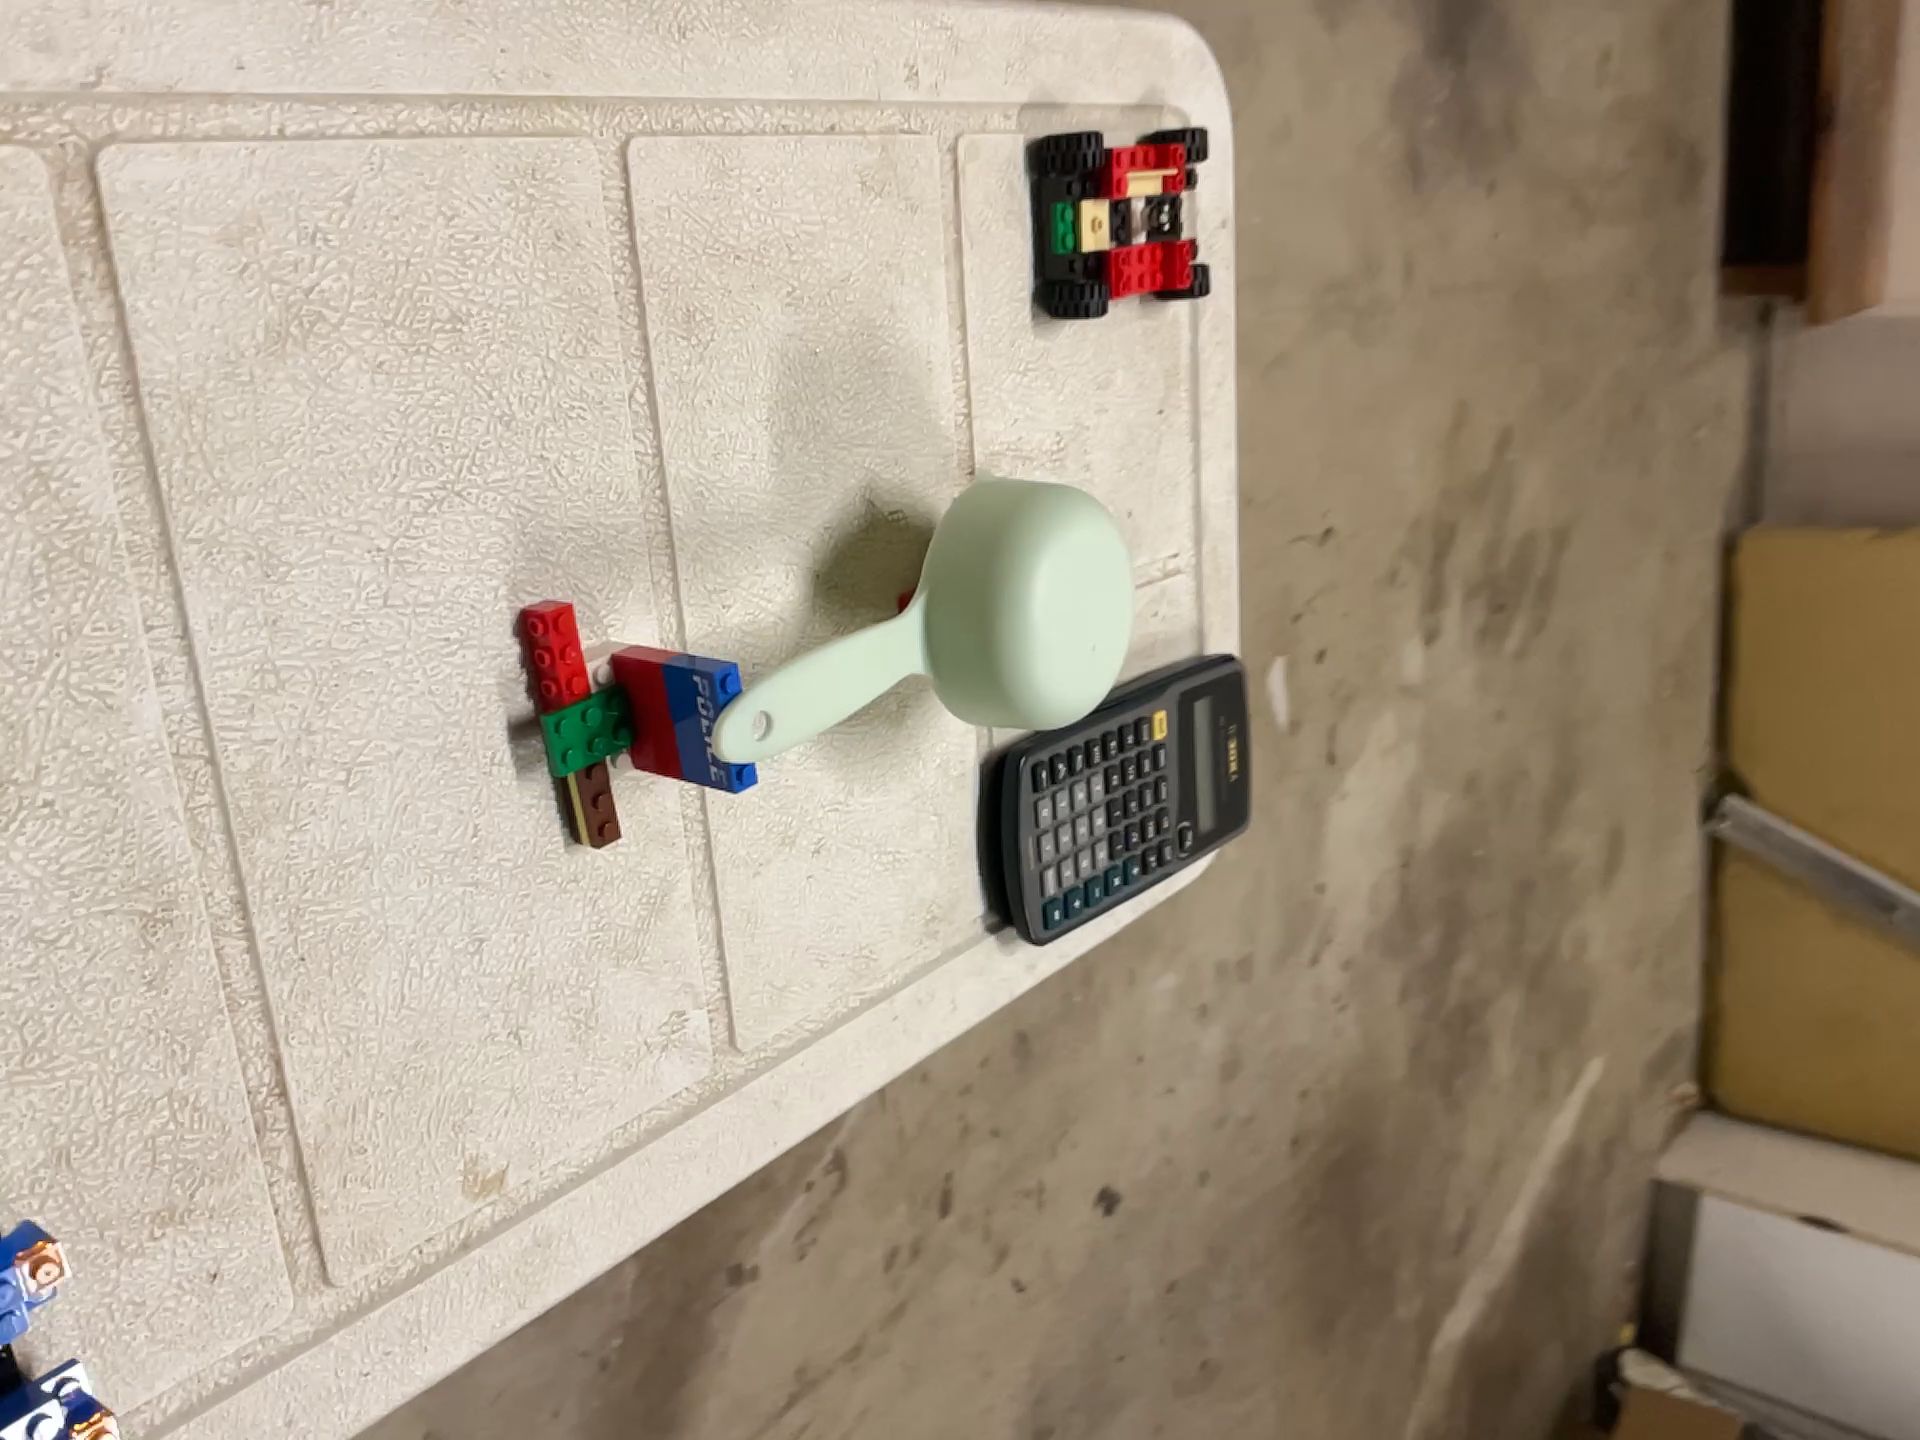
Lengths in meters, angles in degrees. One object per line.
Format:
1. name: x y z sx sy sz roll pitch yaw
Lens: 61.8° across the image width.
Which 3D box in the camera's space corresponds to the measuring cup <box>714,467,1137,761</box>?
1. measuring cup: -0.001 -0.020 0.444 0.168 0.038 0.083 -30 121 -51
